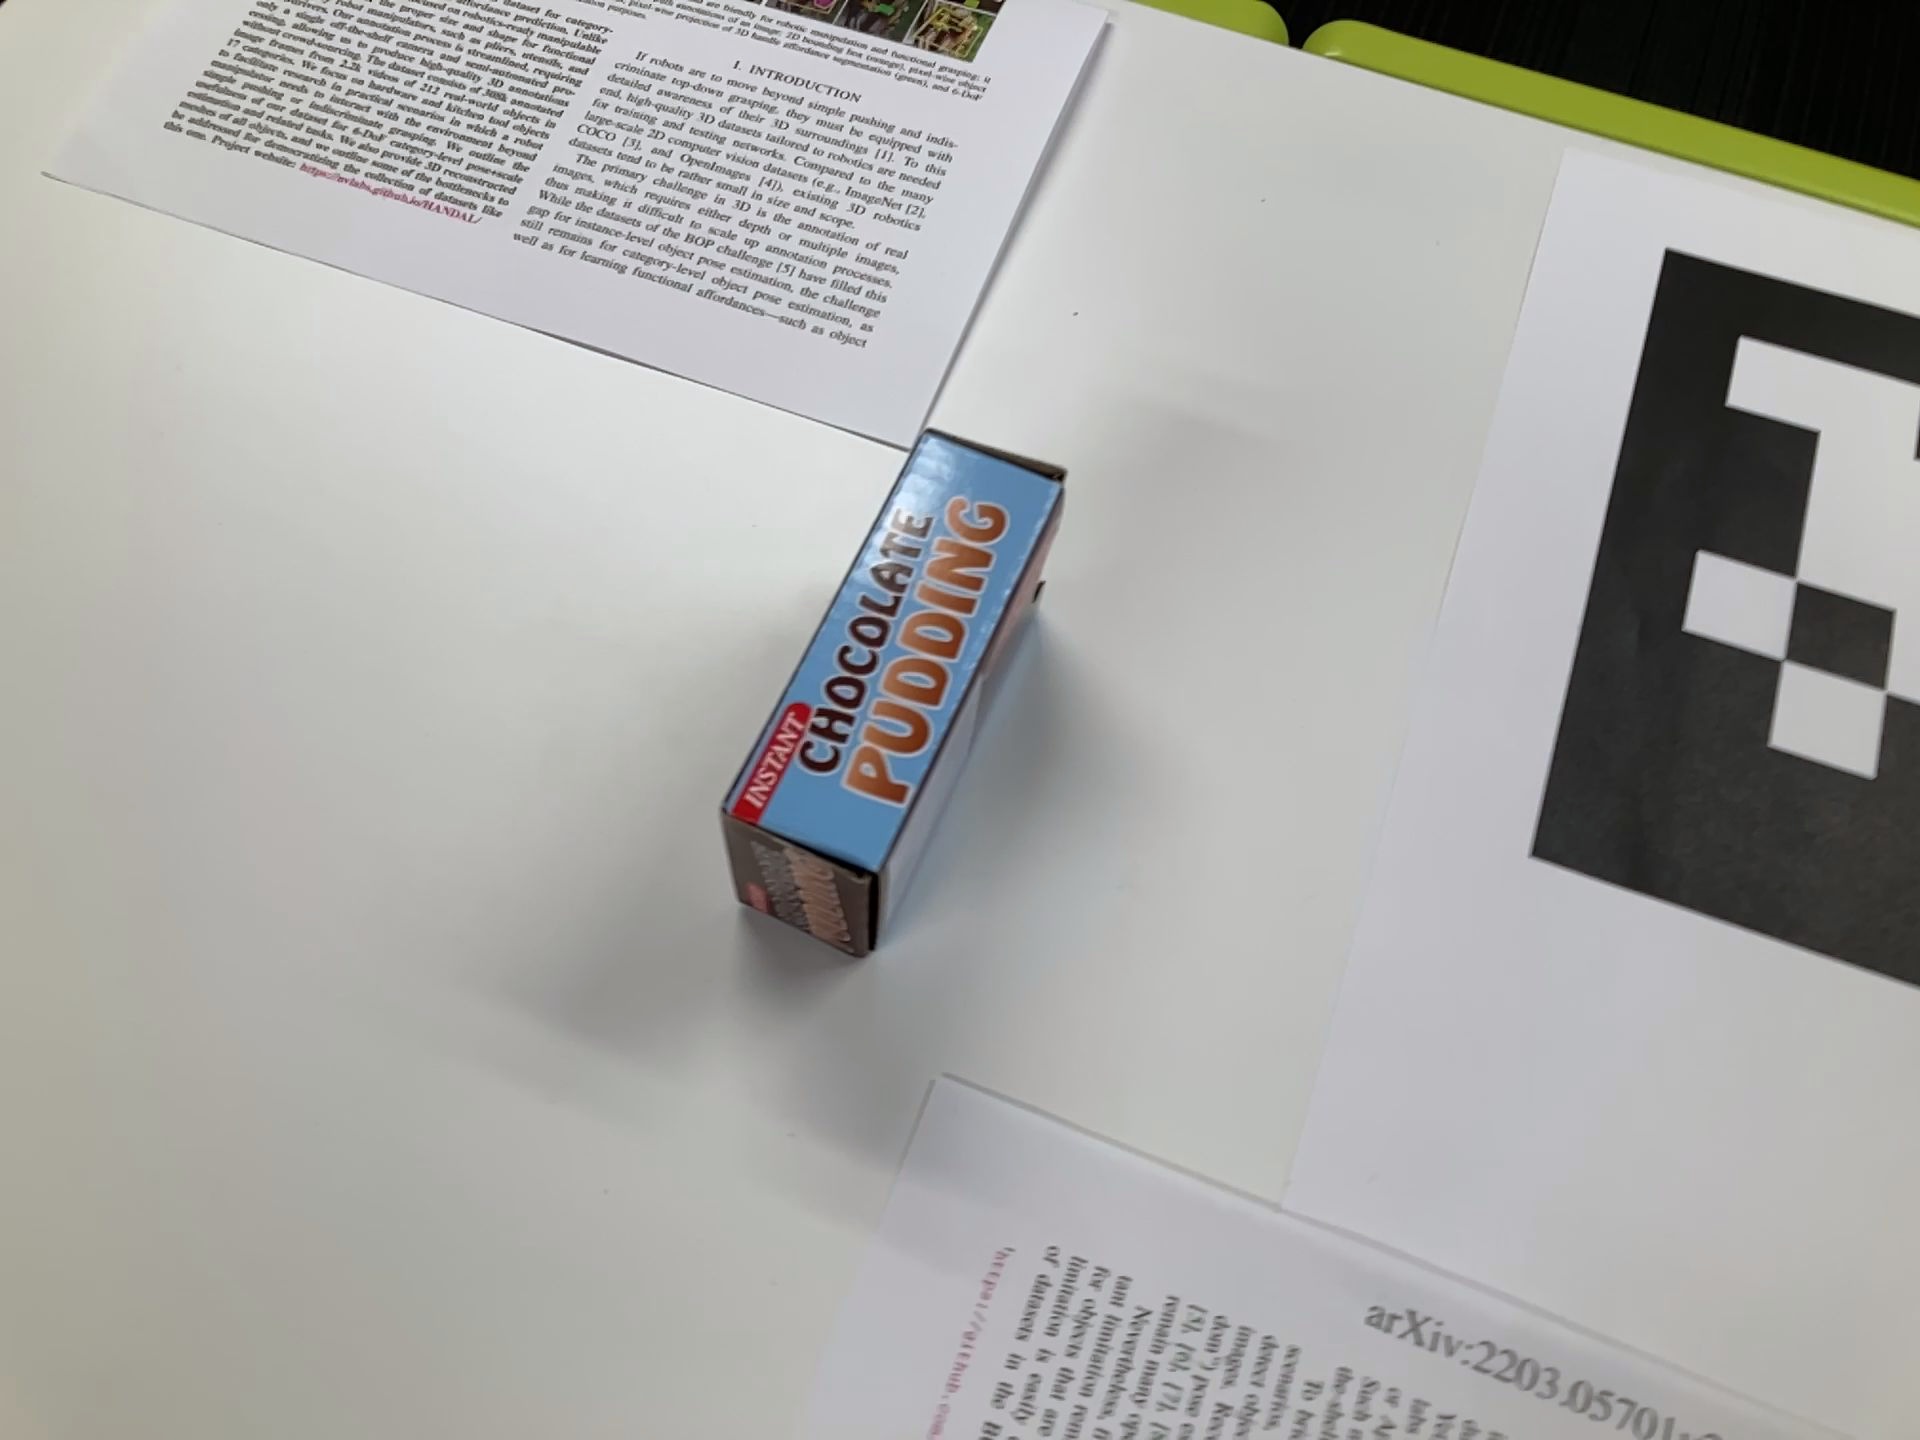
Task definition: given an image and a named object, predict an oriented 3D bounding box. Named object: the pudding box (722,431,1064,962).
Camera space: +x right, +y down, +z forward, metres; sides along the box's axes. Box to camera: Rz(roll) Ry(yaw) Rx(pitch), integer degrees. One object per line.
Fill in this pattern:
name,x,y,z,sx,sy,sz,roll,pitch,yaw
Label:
pudding box,-0.011,-0.004,0.288,0.030,0.049,0.083,22,66,7
